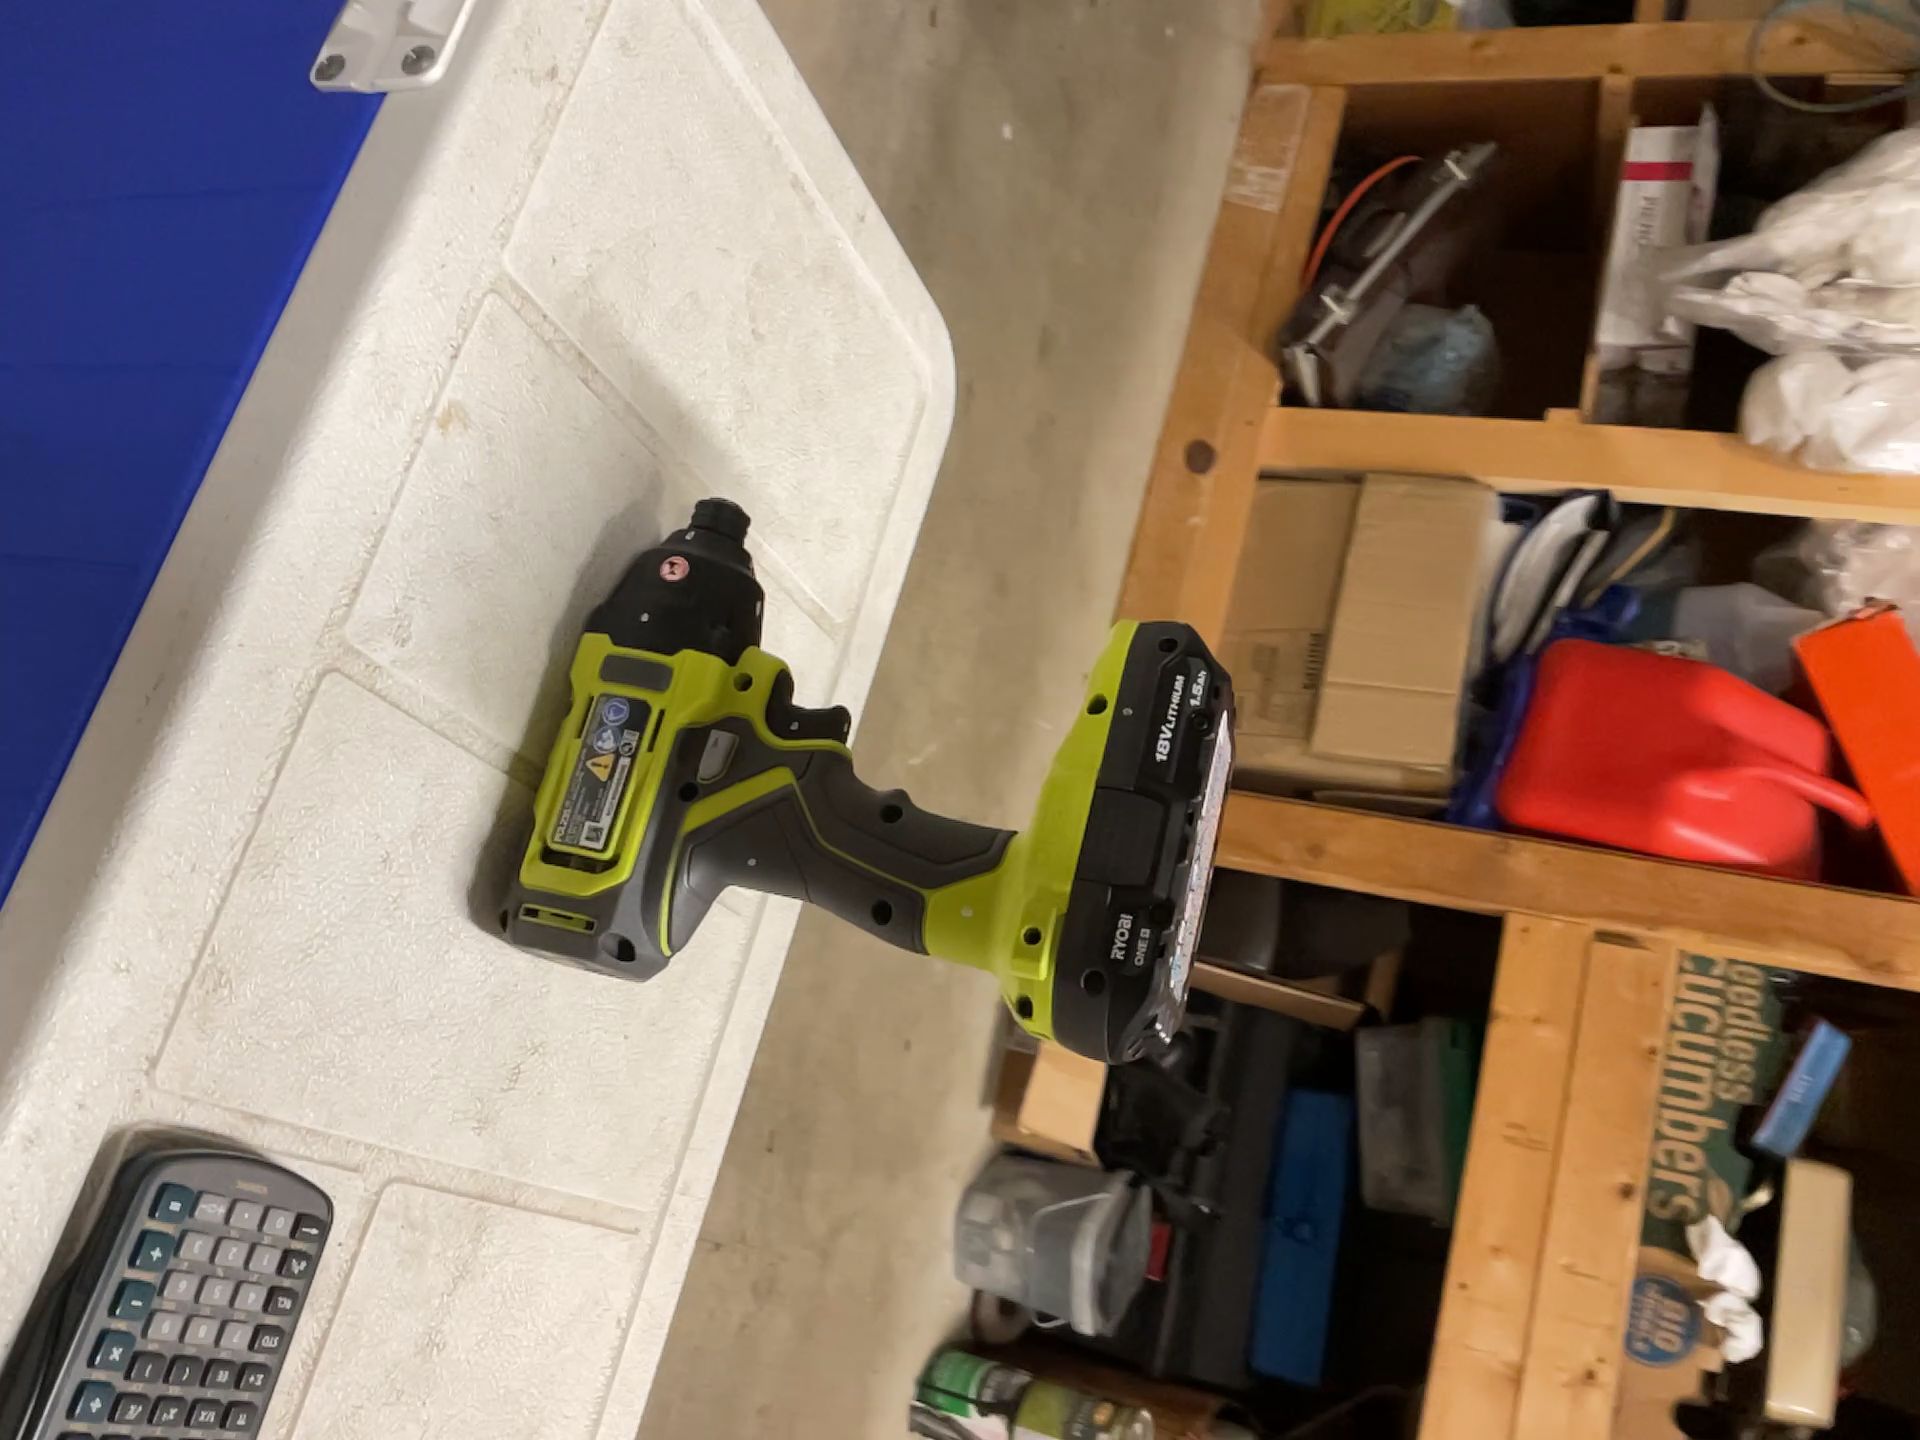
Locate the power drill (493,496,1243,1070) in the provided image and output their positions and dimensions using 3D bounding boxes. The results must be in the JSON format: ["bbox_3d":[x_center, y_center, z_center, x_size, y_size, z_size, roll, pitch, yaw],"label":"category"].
[{"bbox_3d":[-0.027,0.017,0.526,0.080,0.223,0.171,59,43,-68],"label":"power drill"}]
